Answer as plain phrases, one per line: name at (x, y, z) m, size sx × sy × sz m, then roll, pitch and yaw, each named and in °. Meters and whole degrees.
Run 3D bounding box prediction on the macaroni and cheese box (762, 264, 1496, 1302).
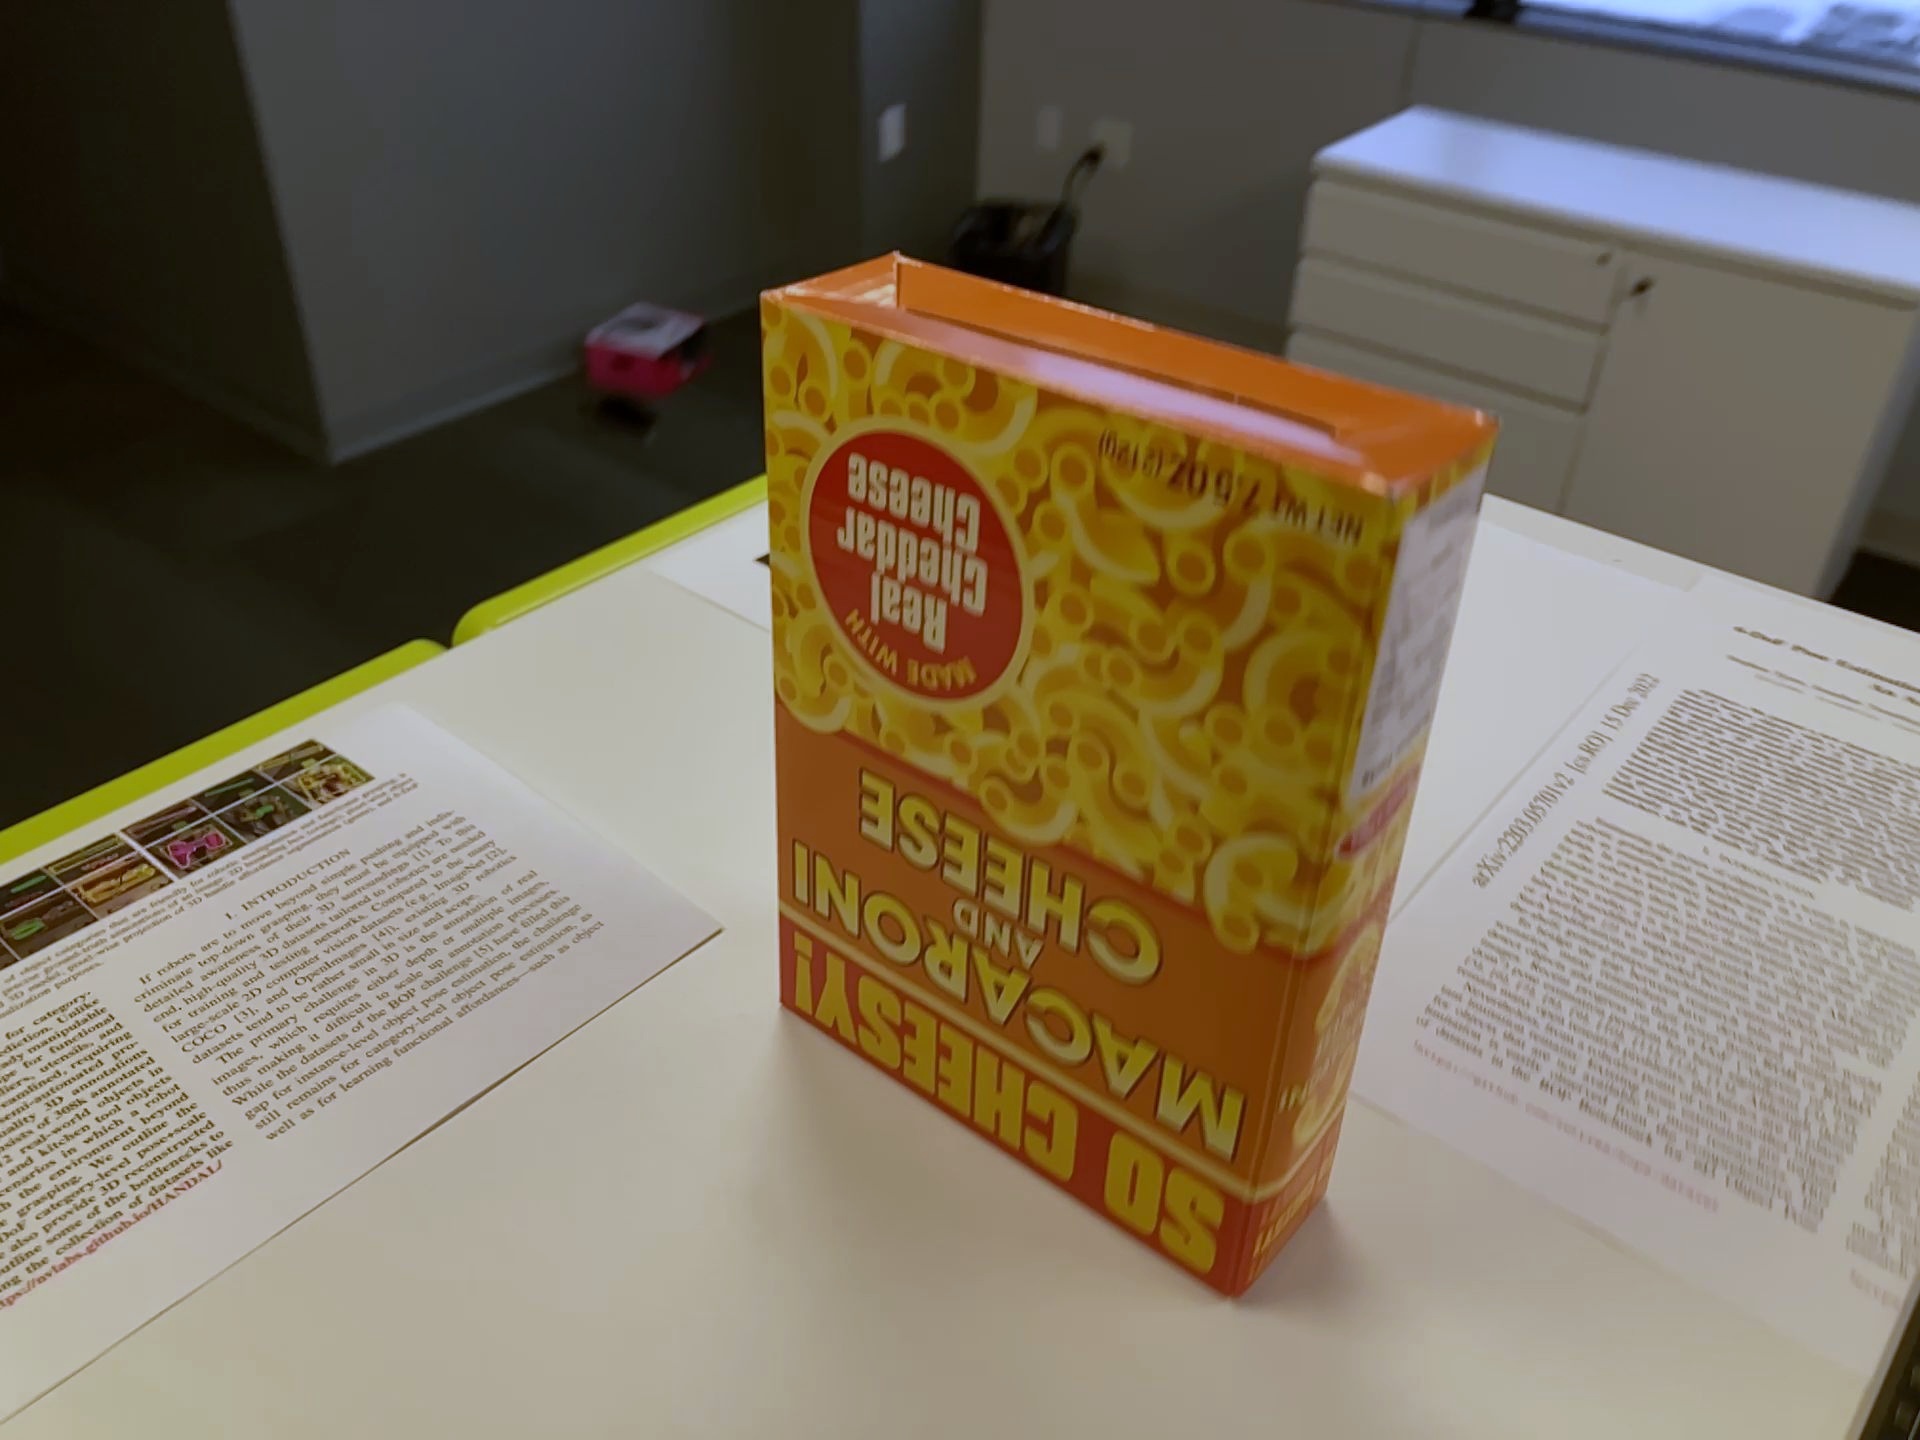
macaroni and cheese box at (0.021, 0.012, 0.302) m, size 0.124 × 0.166 × 0.040 m, roll 26°, pitch 39°, yaw 33°
